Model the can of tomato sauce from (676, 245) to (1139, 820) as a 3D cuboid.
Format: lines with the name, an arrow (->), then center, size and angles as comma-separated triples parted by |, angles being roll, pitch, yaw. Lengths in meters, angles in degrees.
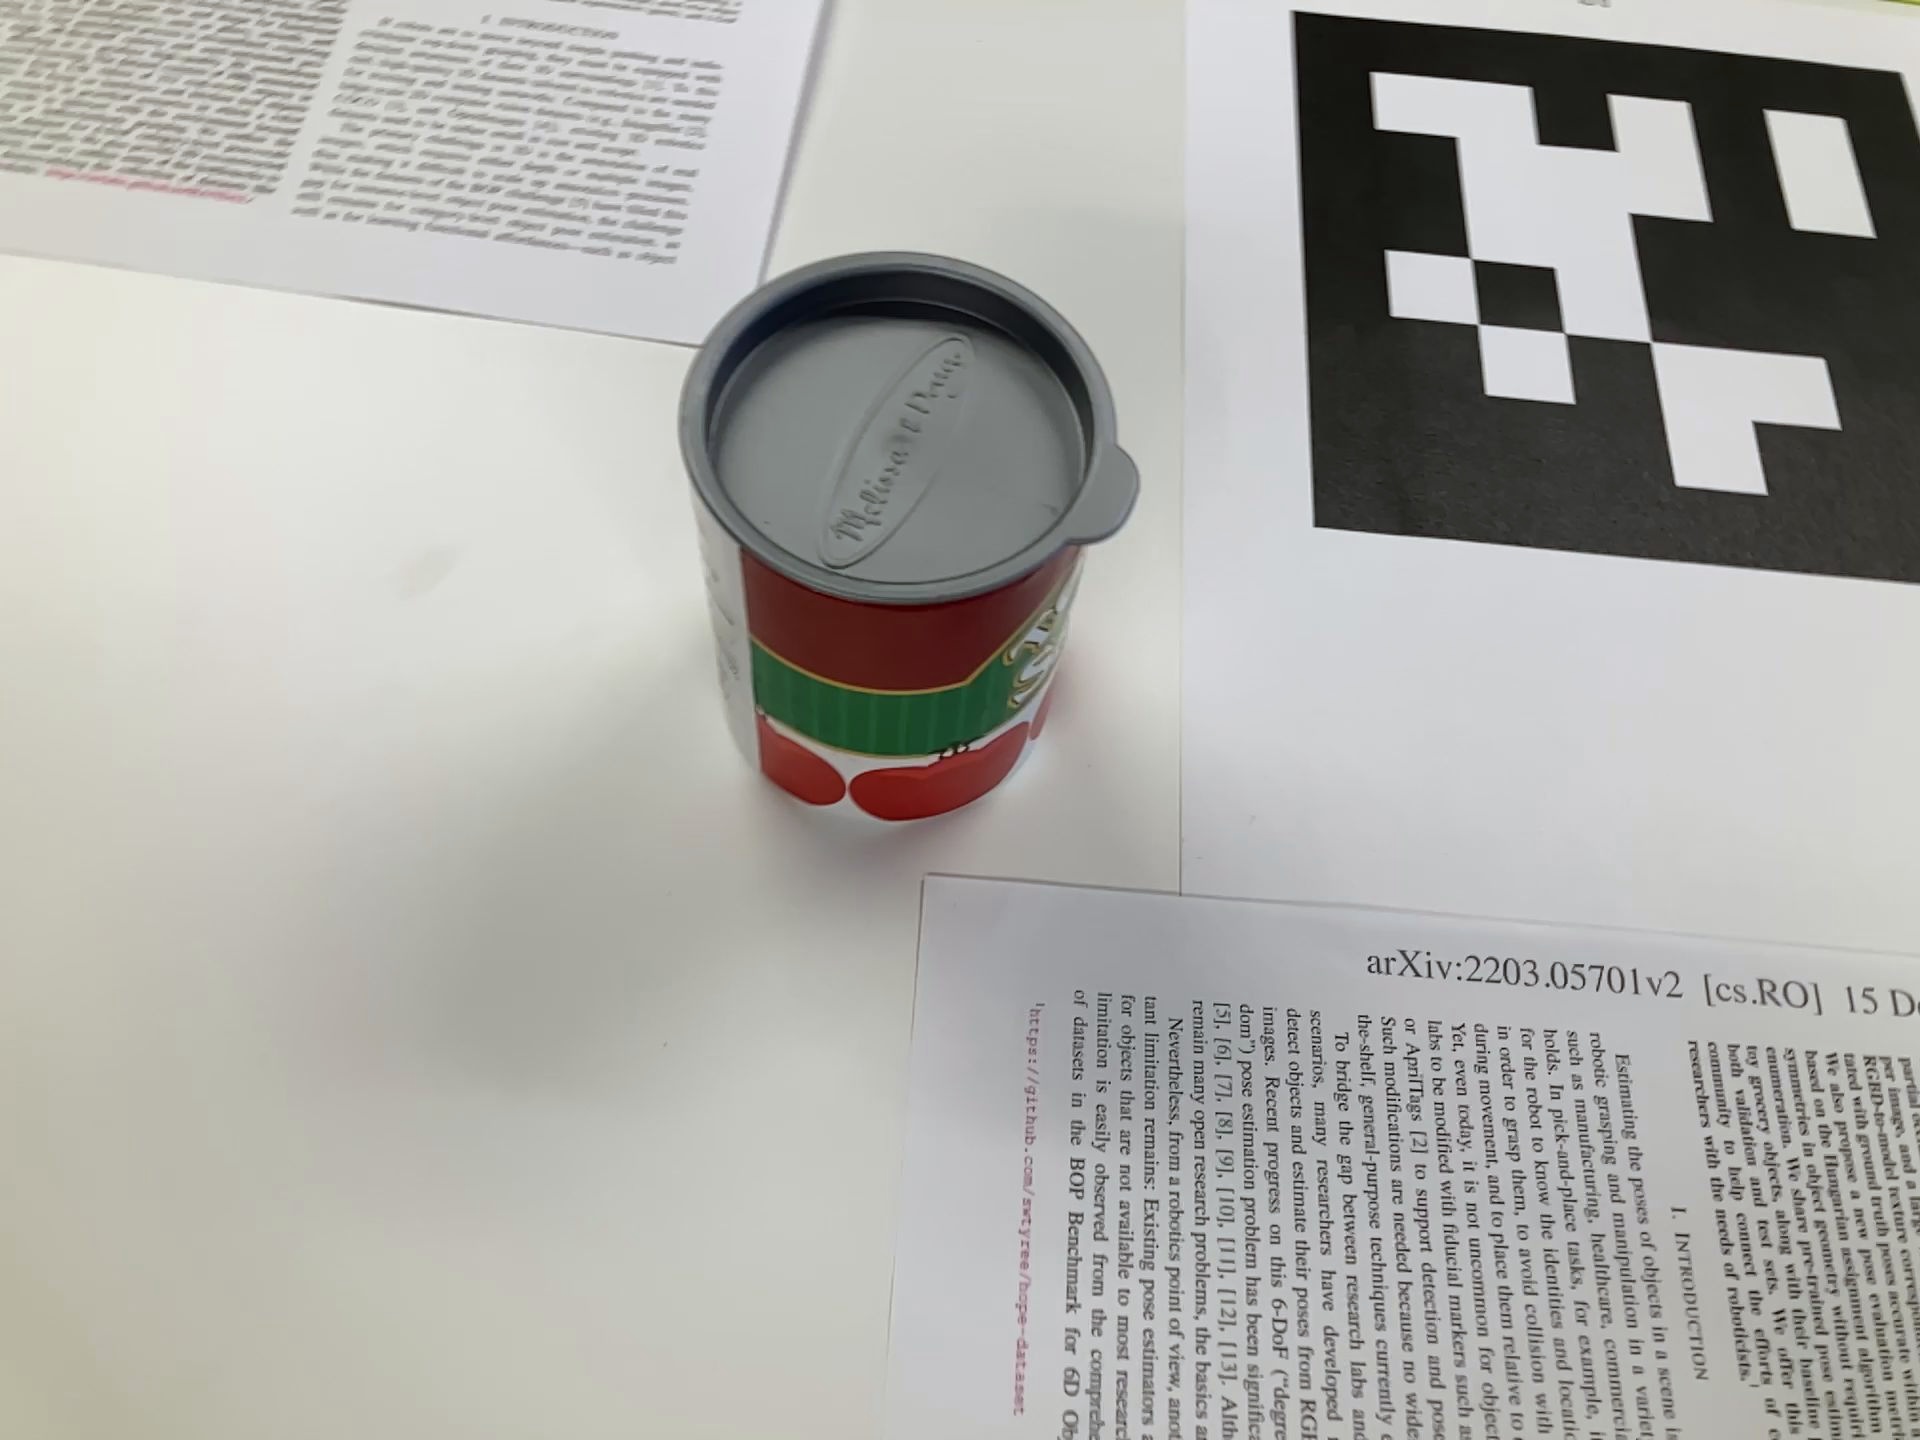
can of tomato sauce -> -0.010, -0.028, 0.277 | 0.071, 0.083, 0.071 | 2, 63, -3
